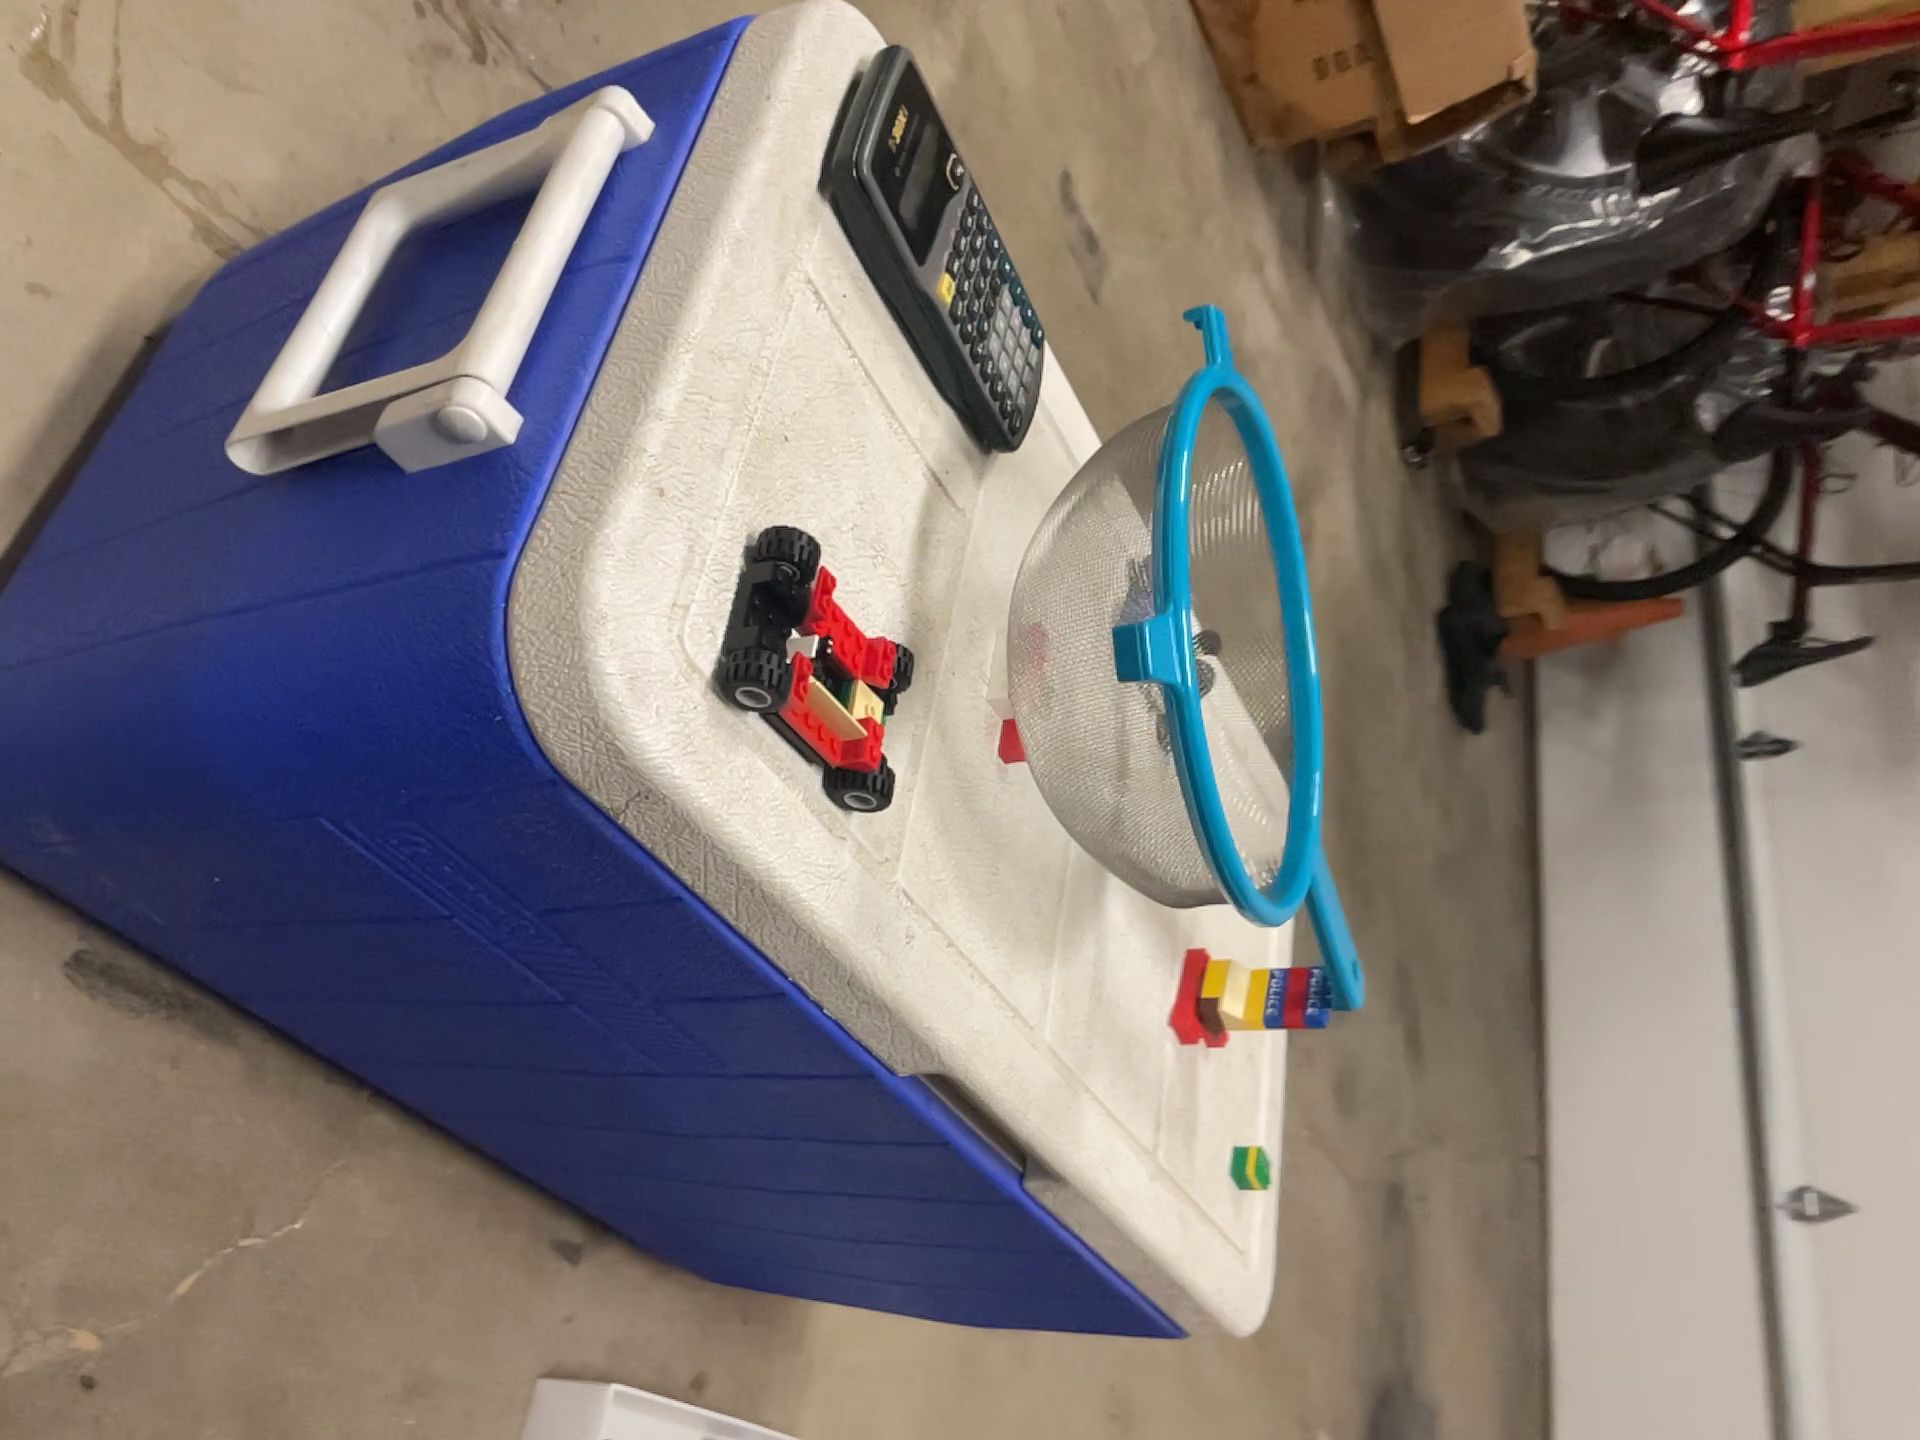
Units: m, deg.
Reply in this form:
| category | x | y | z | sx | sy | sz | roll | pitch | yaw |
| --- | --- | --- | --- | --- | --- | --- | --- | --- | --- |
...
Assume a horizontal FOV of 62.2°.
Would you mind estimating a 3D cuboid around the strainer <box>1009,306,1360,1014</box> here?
| category | x | y | z | sx | sy | sz | roll | pitch | yaw |
| --- | --- | --- | --- | --- | --- | --- | --- | --- | --- |
| strainer | 0.094 | 0.019 | 0.658 | 0.339 | 0.095 | 0.211 | 64 | 30 | -41 |
